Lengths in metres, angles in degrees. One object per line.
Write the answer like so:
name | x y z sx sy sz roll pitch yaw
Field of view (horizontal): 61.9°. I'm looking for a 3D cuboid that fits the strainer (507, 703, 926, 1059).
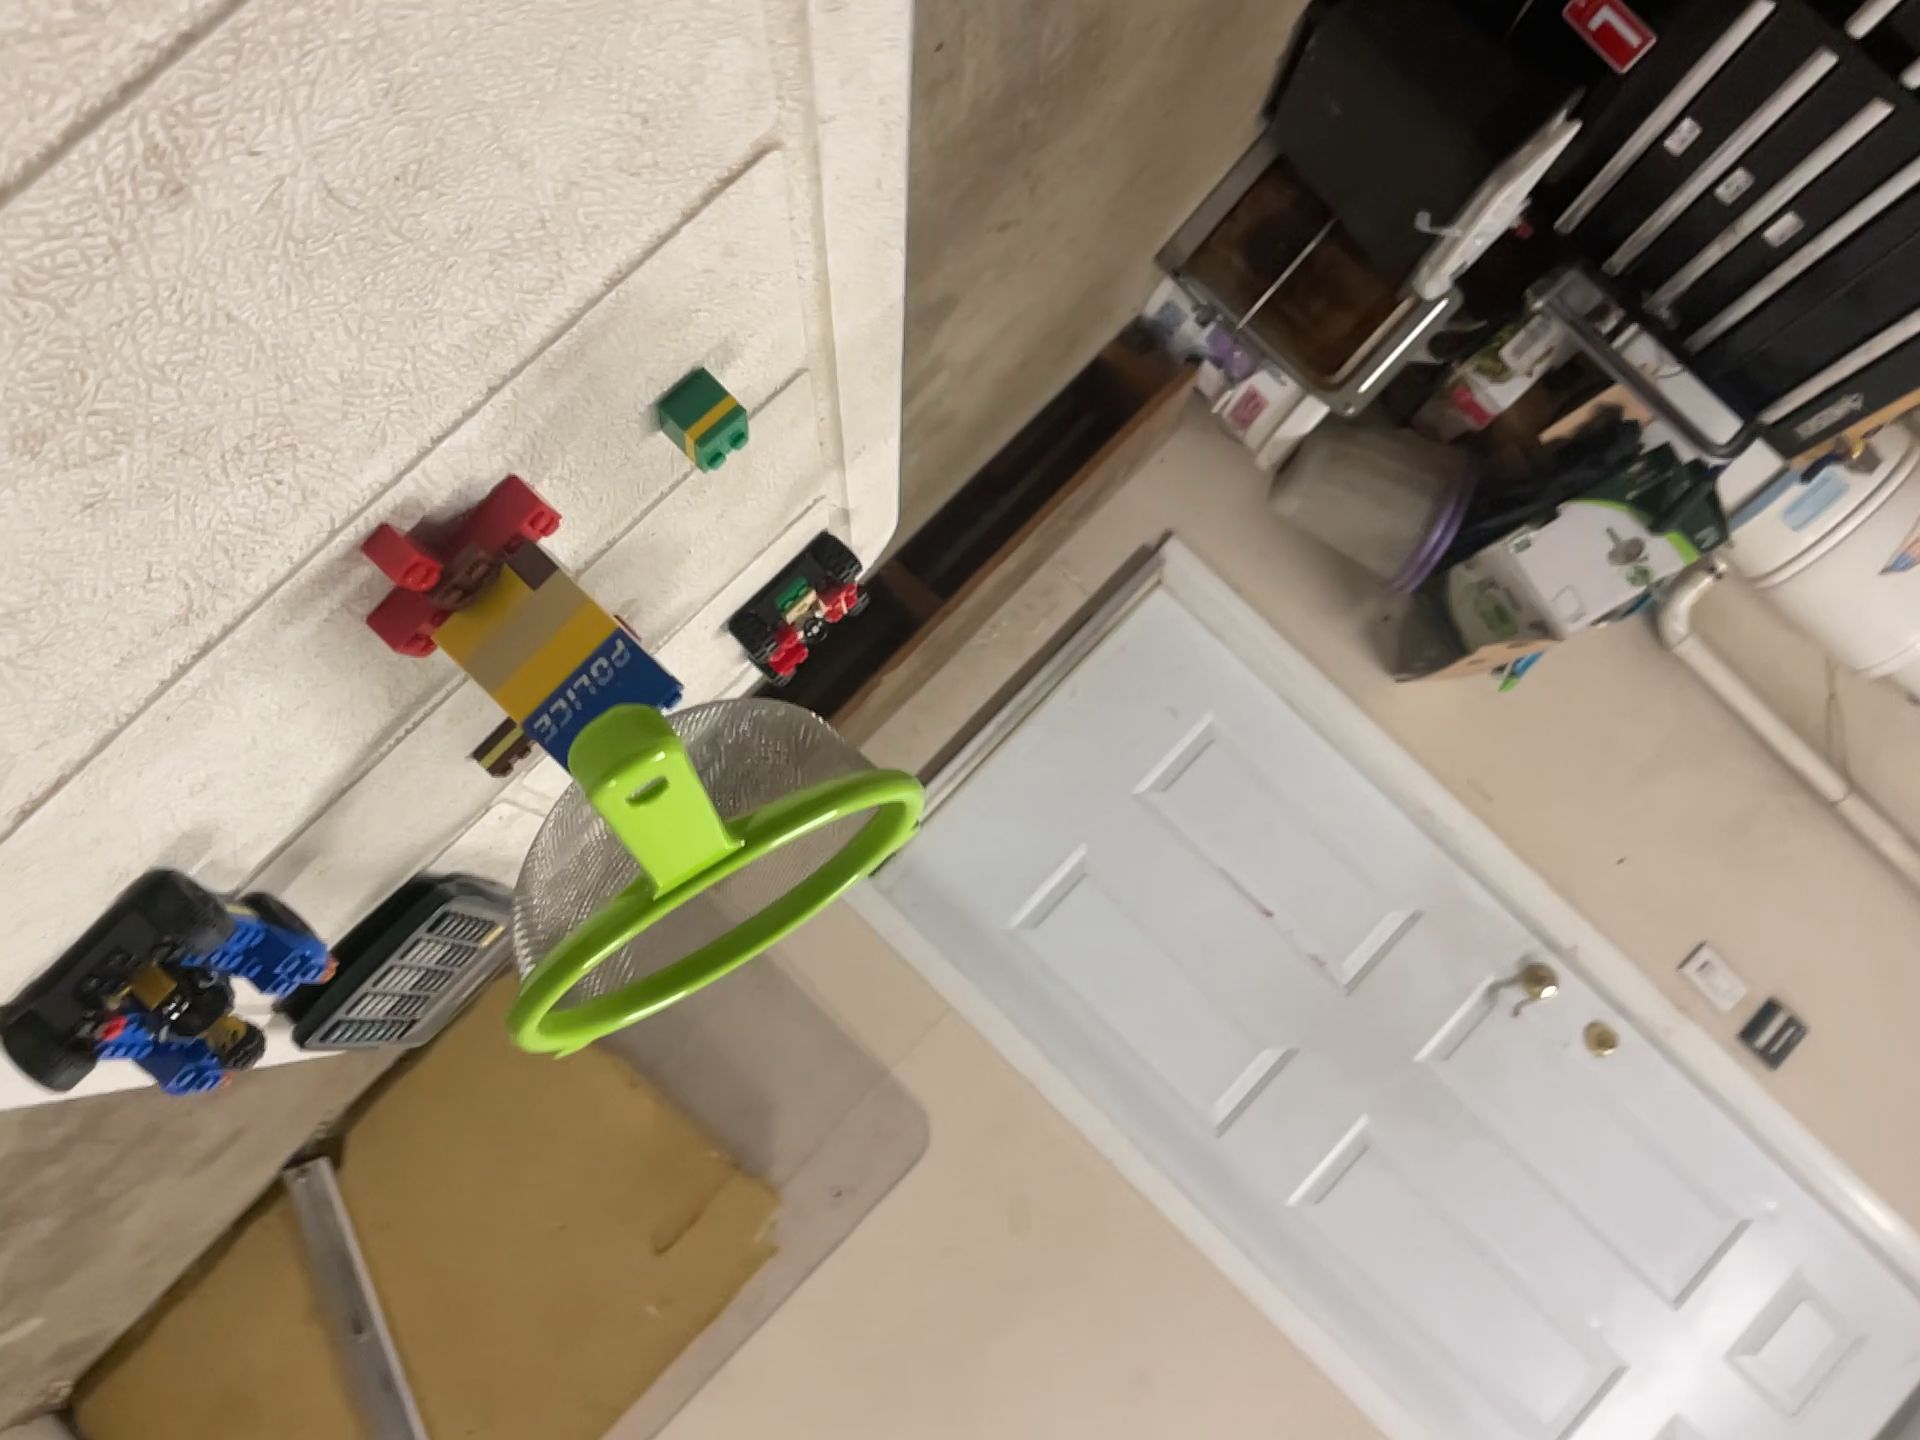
strainer | -0.090 0.024 0.471 0.151 0.069 0.256 -31 166 -10
